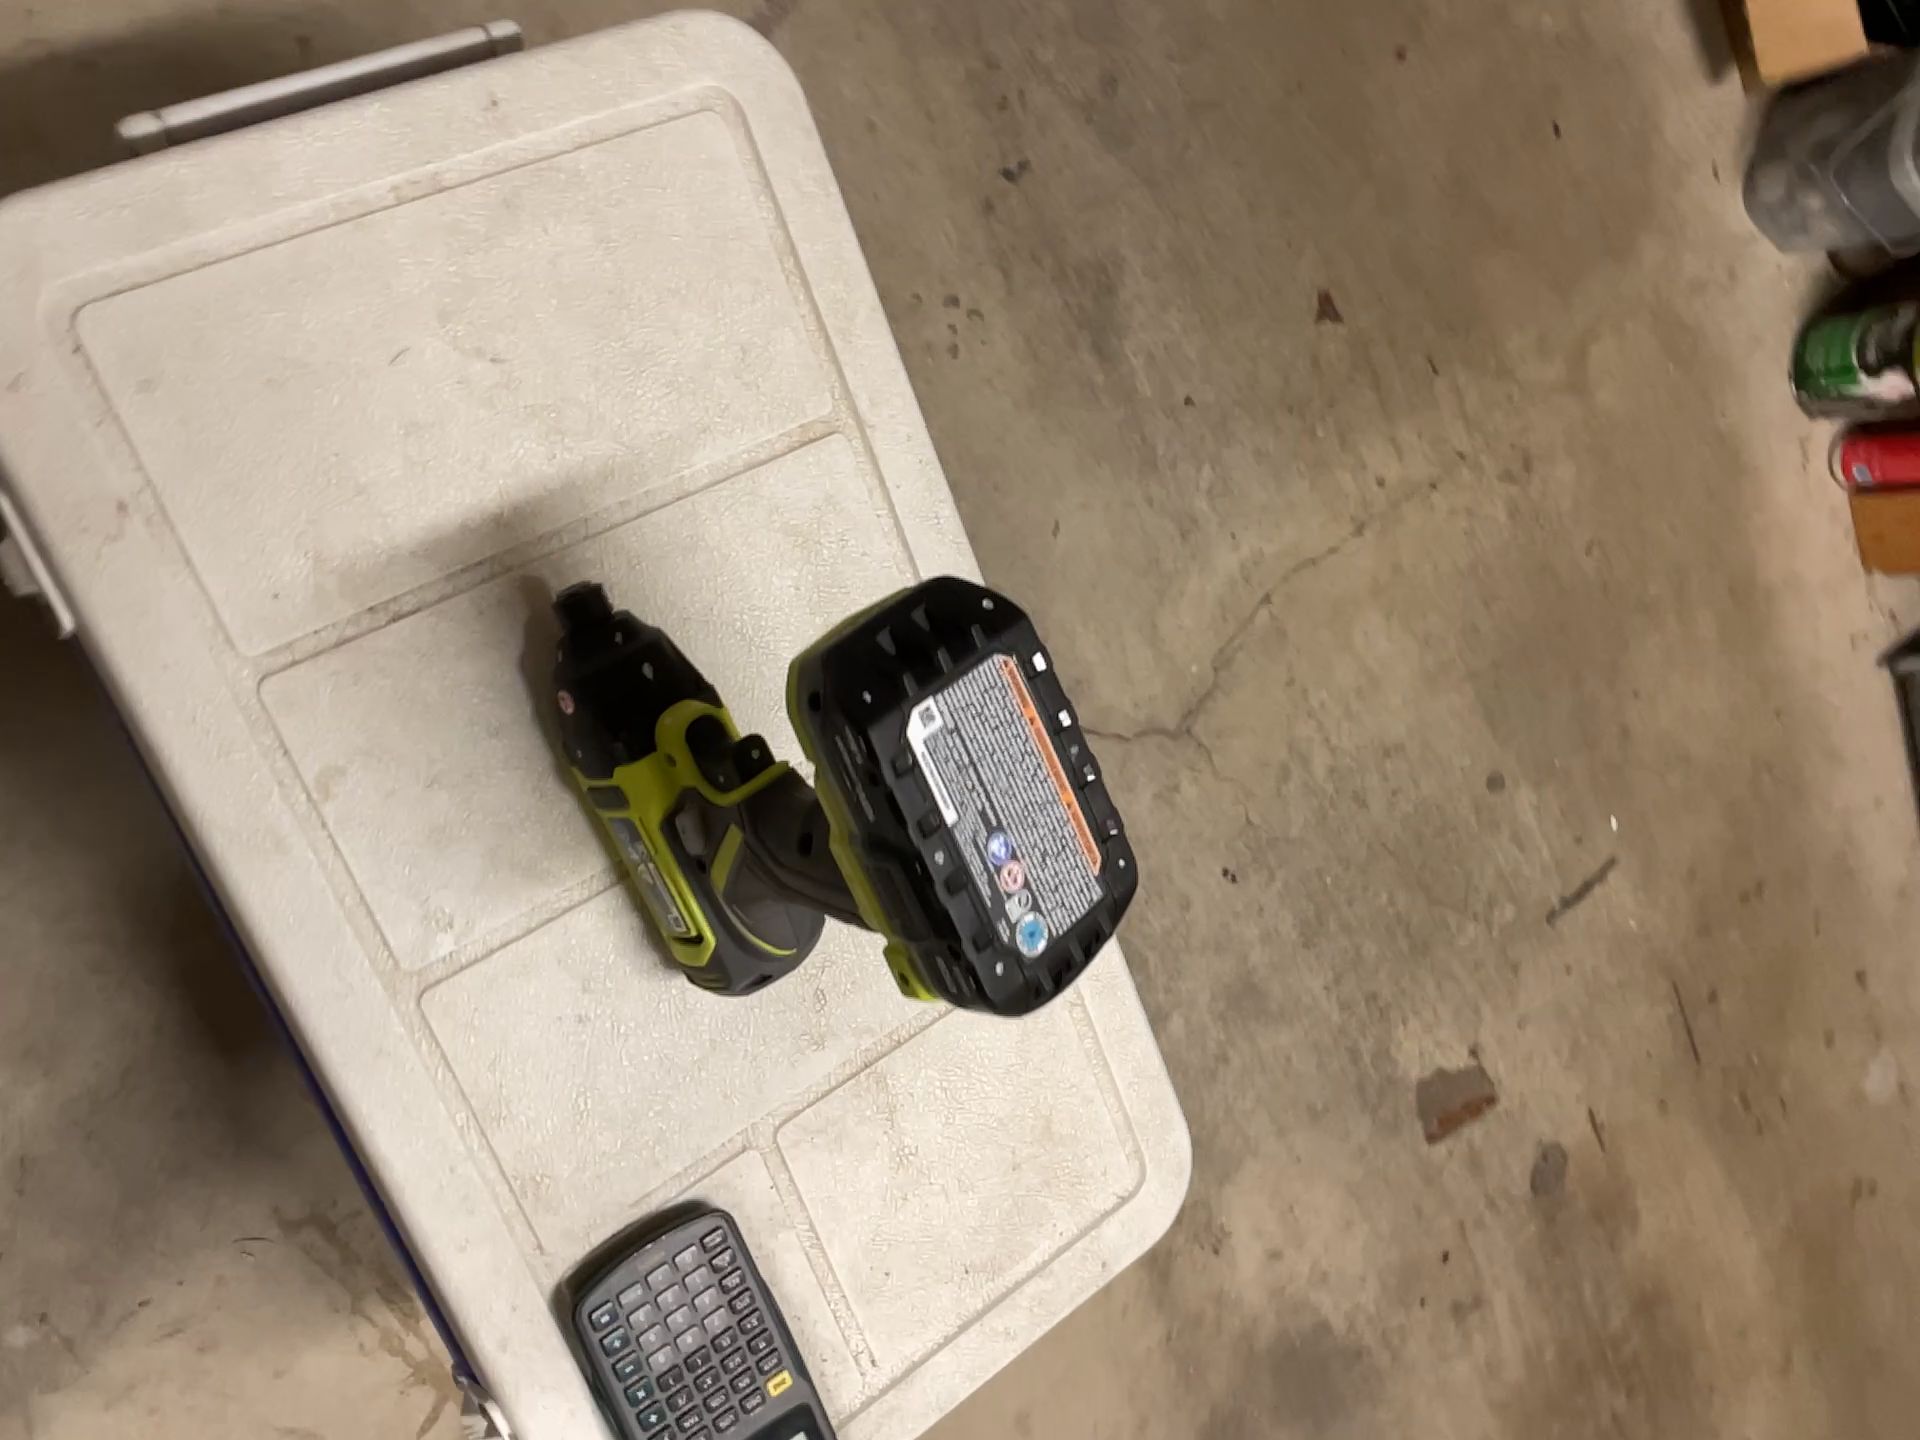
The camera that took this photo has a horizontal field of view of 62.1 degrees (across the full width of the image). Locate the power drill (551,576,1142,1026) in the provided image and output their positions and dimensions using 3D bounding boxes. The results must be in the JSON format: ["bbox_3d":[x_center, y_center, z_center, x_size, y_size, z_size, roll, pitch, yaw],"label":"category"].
[{"bbox_3d":[-0.059,0.023,0.556,0.080,0.223,0.171,-36,111,-36],"label":"power drill"}]
